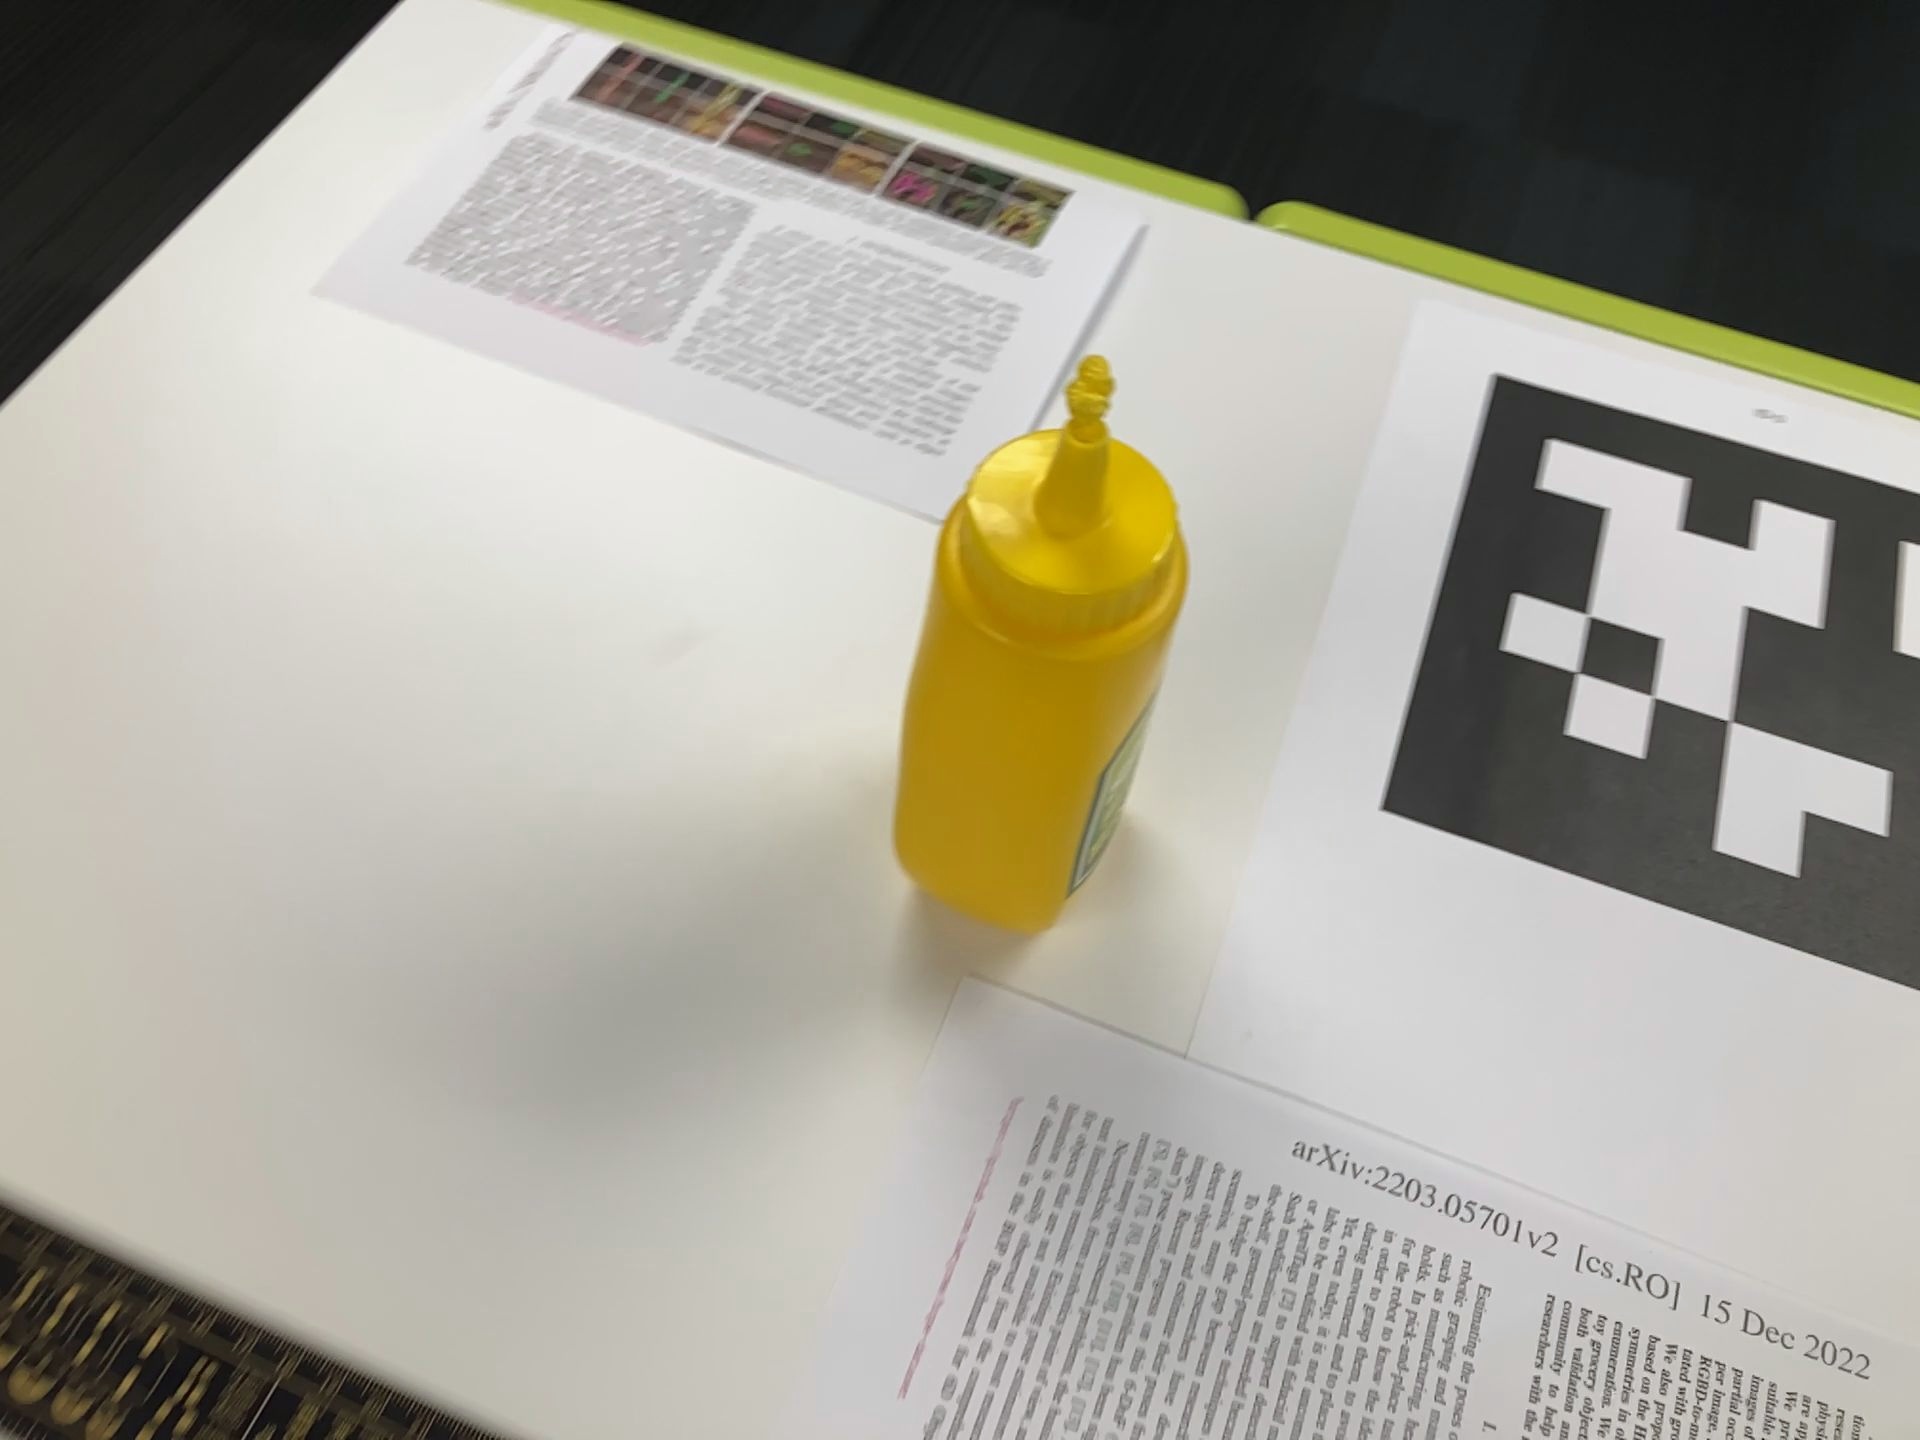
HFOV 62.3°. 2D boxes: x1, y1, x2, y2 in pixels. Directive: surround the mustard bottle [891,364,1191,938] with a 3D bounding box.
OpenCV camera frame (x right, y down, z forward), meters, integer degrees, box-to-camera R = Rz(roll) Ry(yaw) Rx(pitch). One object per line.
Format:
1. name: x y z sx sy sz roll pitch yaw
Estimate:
1. mustard bottle: 0.017 -0.011 0.323 0.049 0.160 0.065 24 61 10
